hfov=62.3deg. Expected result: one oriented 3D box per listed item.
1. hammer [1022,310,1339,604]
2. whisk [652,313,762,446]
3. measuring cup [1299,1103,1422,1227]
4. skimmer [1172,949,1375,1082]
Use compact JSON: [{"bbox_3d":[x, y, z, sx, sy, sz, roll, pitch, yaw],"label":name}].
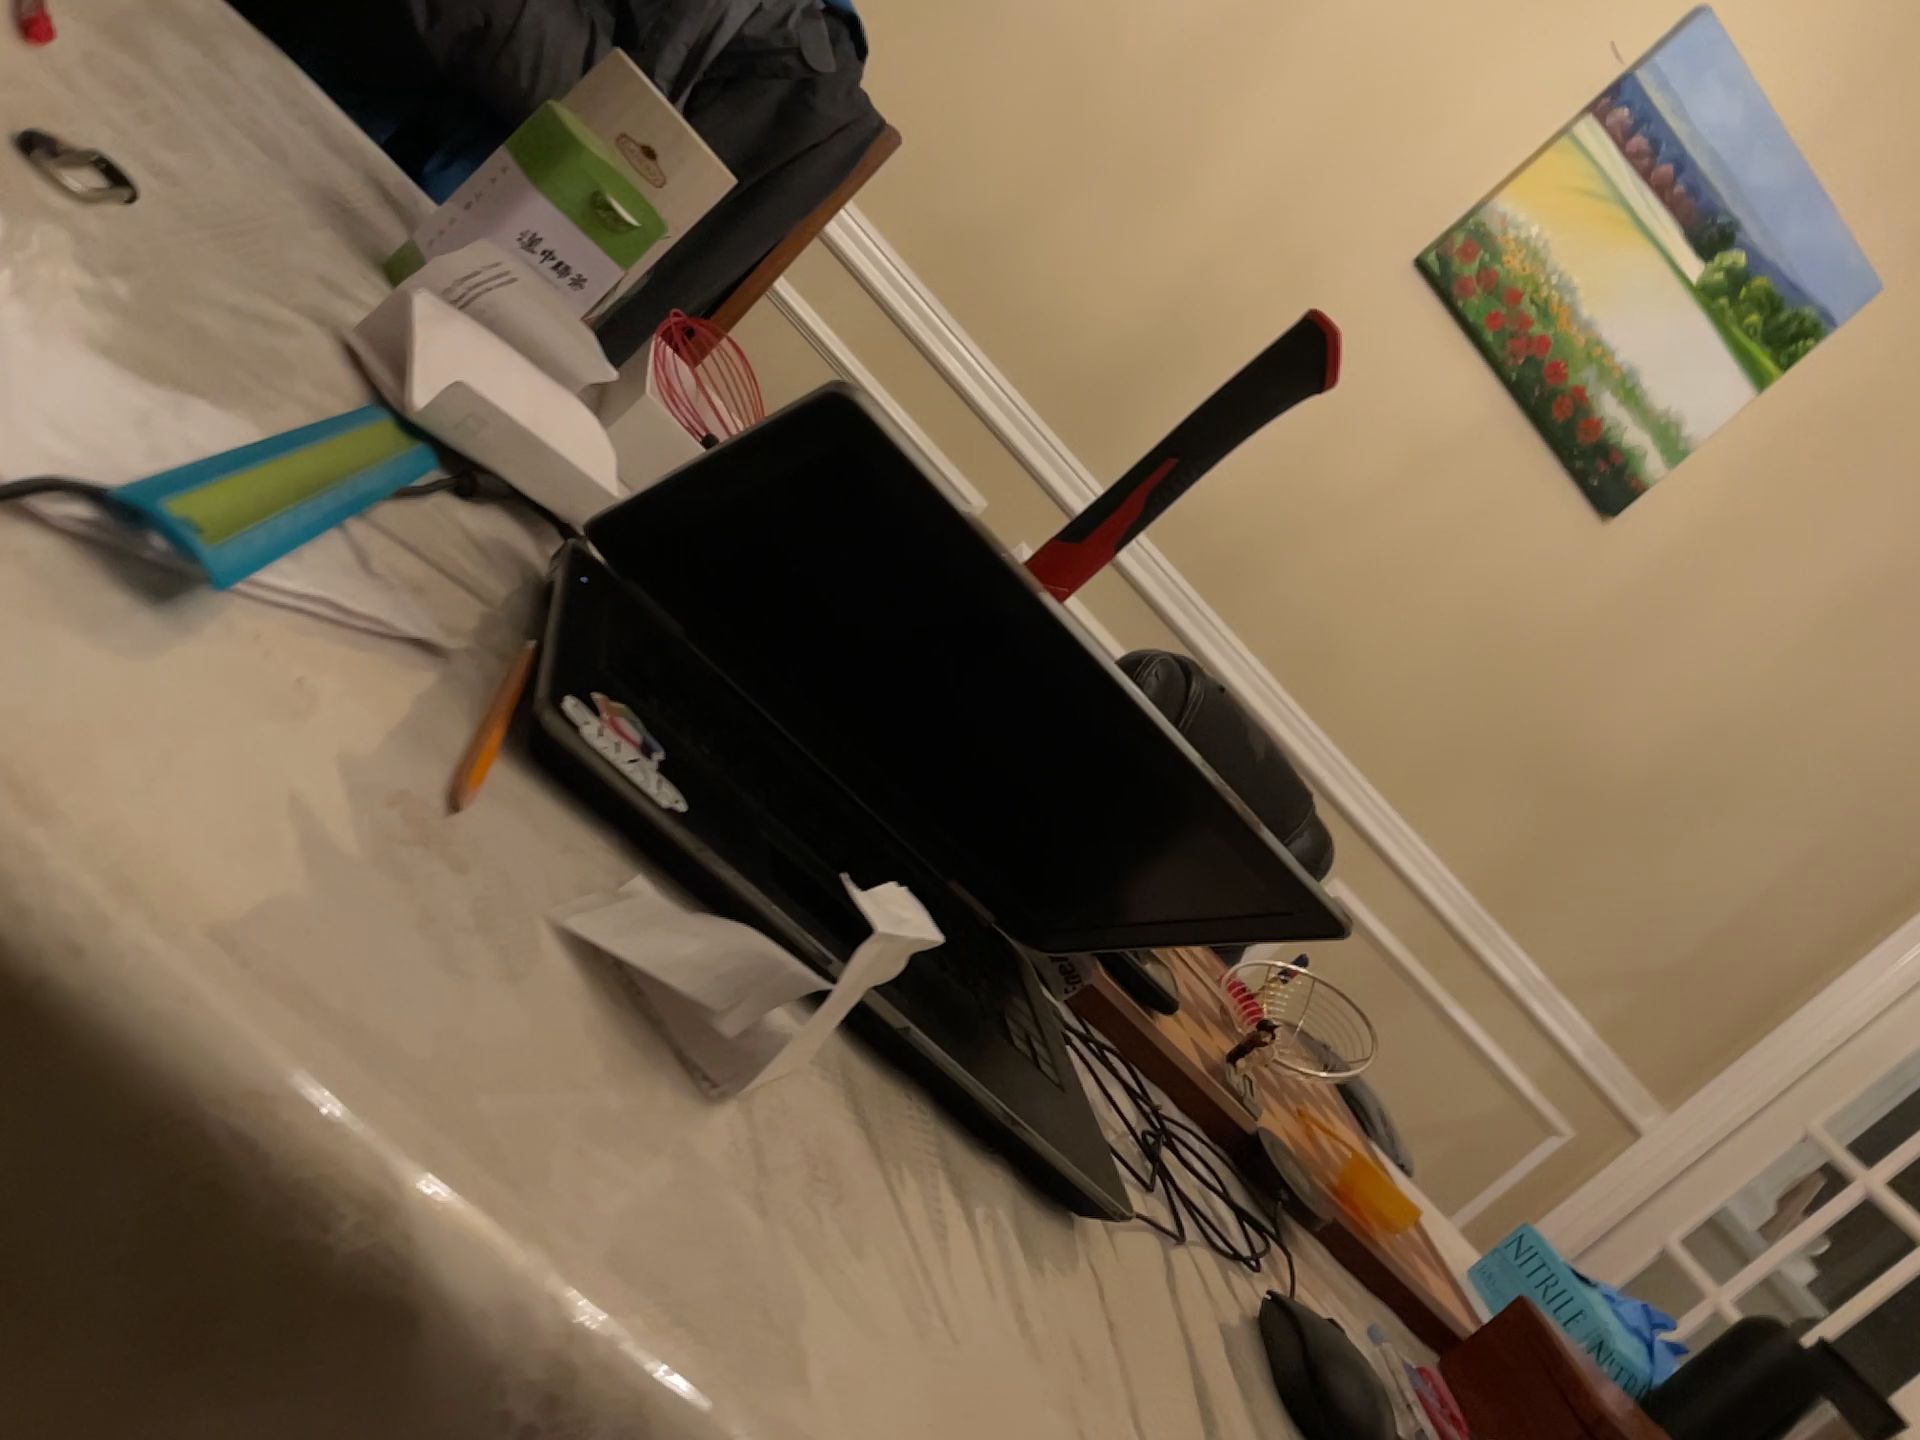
[{"bbox_3d":[0.064,-0.116,0.962,0.143,0.386,0.038,46,8,-15],"label":"hammer"},{"bbox_3d":[-0.154,-0.185,1.219,0.296,0.073,0.073,62,28,5],"label":"whisk"},{"bbox_3d":[0.281,0.323,1.166,0.062,0.029,0.157,42,-3,-18],"label":"measuring cup"},{"bbox_3d":[0.196,0.165,1.167,0.362,0.090,0.127,46,9,-41],"label":"skimmer"}]
